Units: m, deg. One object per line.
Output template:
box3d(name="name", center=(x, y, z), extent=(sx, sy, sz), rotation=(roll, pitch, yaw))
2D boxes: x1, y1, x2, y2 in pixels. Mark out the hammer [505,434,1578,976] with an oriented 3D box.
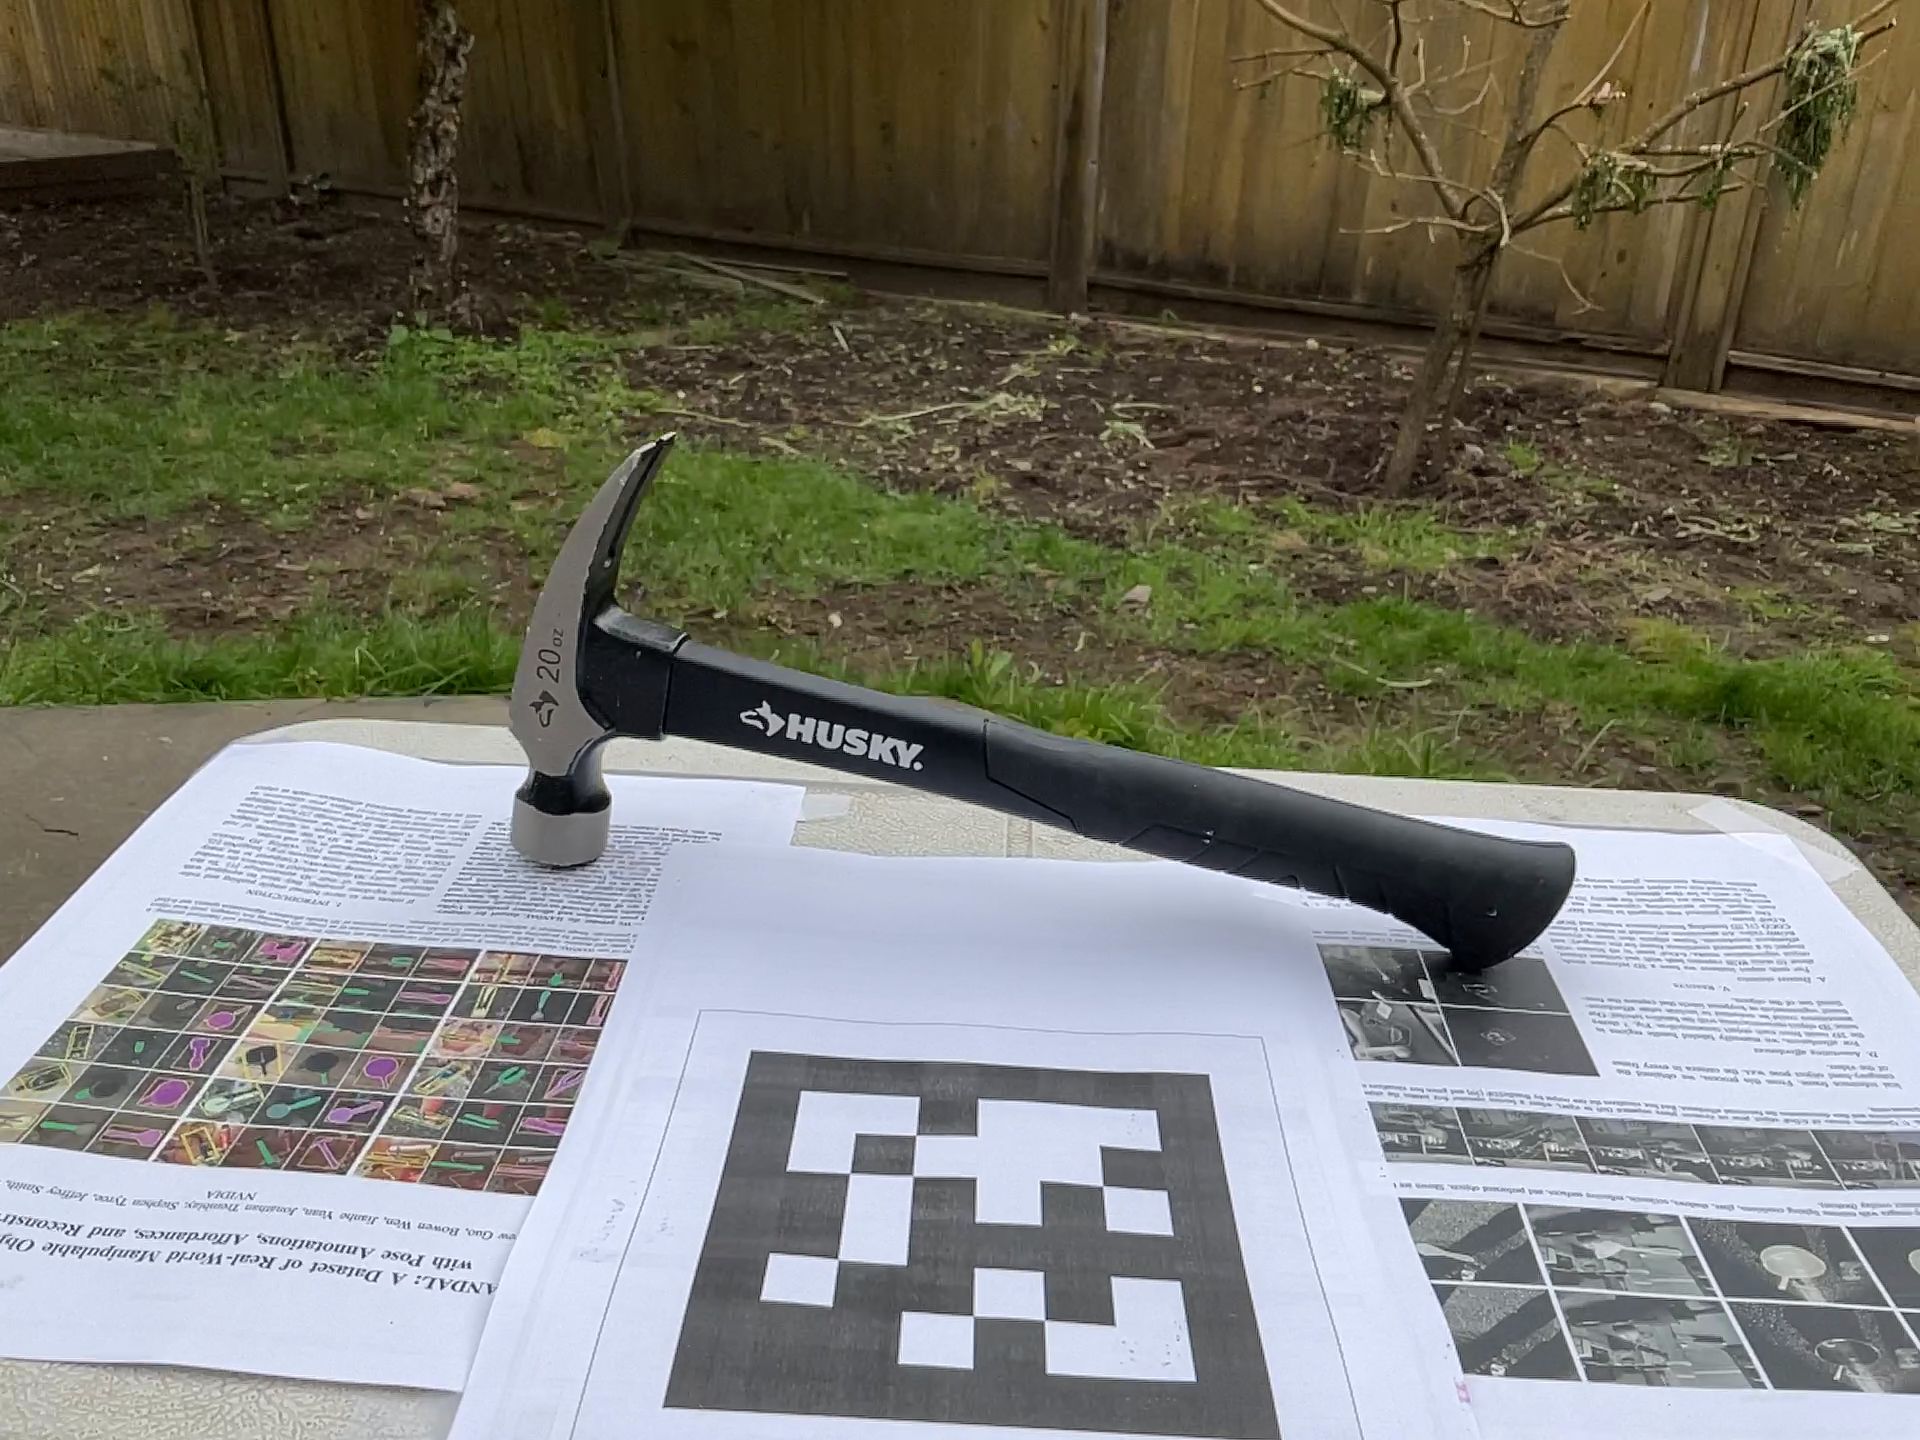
box3d(name="hammer", center=(0.023, 0.014, 0.502), extent=(0.334, 0.146, 0.035), rotation=(14, 22, 4))
